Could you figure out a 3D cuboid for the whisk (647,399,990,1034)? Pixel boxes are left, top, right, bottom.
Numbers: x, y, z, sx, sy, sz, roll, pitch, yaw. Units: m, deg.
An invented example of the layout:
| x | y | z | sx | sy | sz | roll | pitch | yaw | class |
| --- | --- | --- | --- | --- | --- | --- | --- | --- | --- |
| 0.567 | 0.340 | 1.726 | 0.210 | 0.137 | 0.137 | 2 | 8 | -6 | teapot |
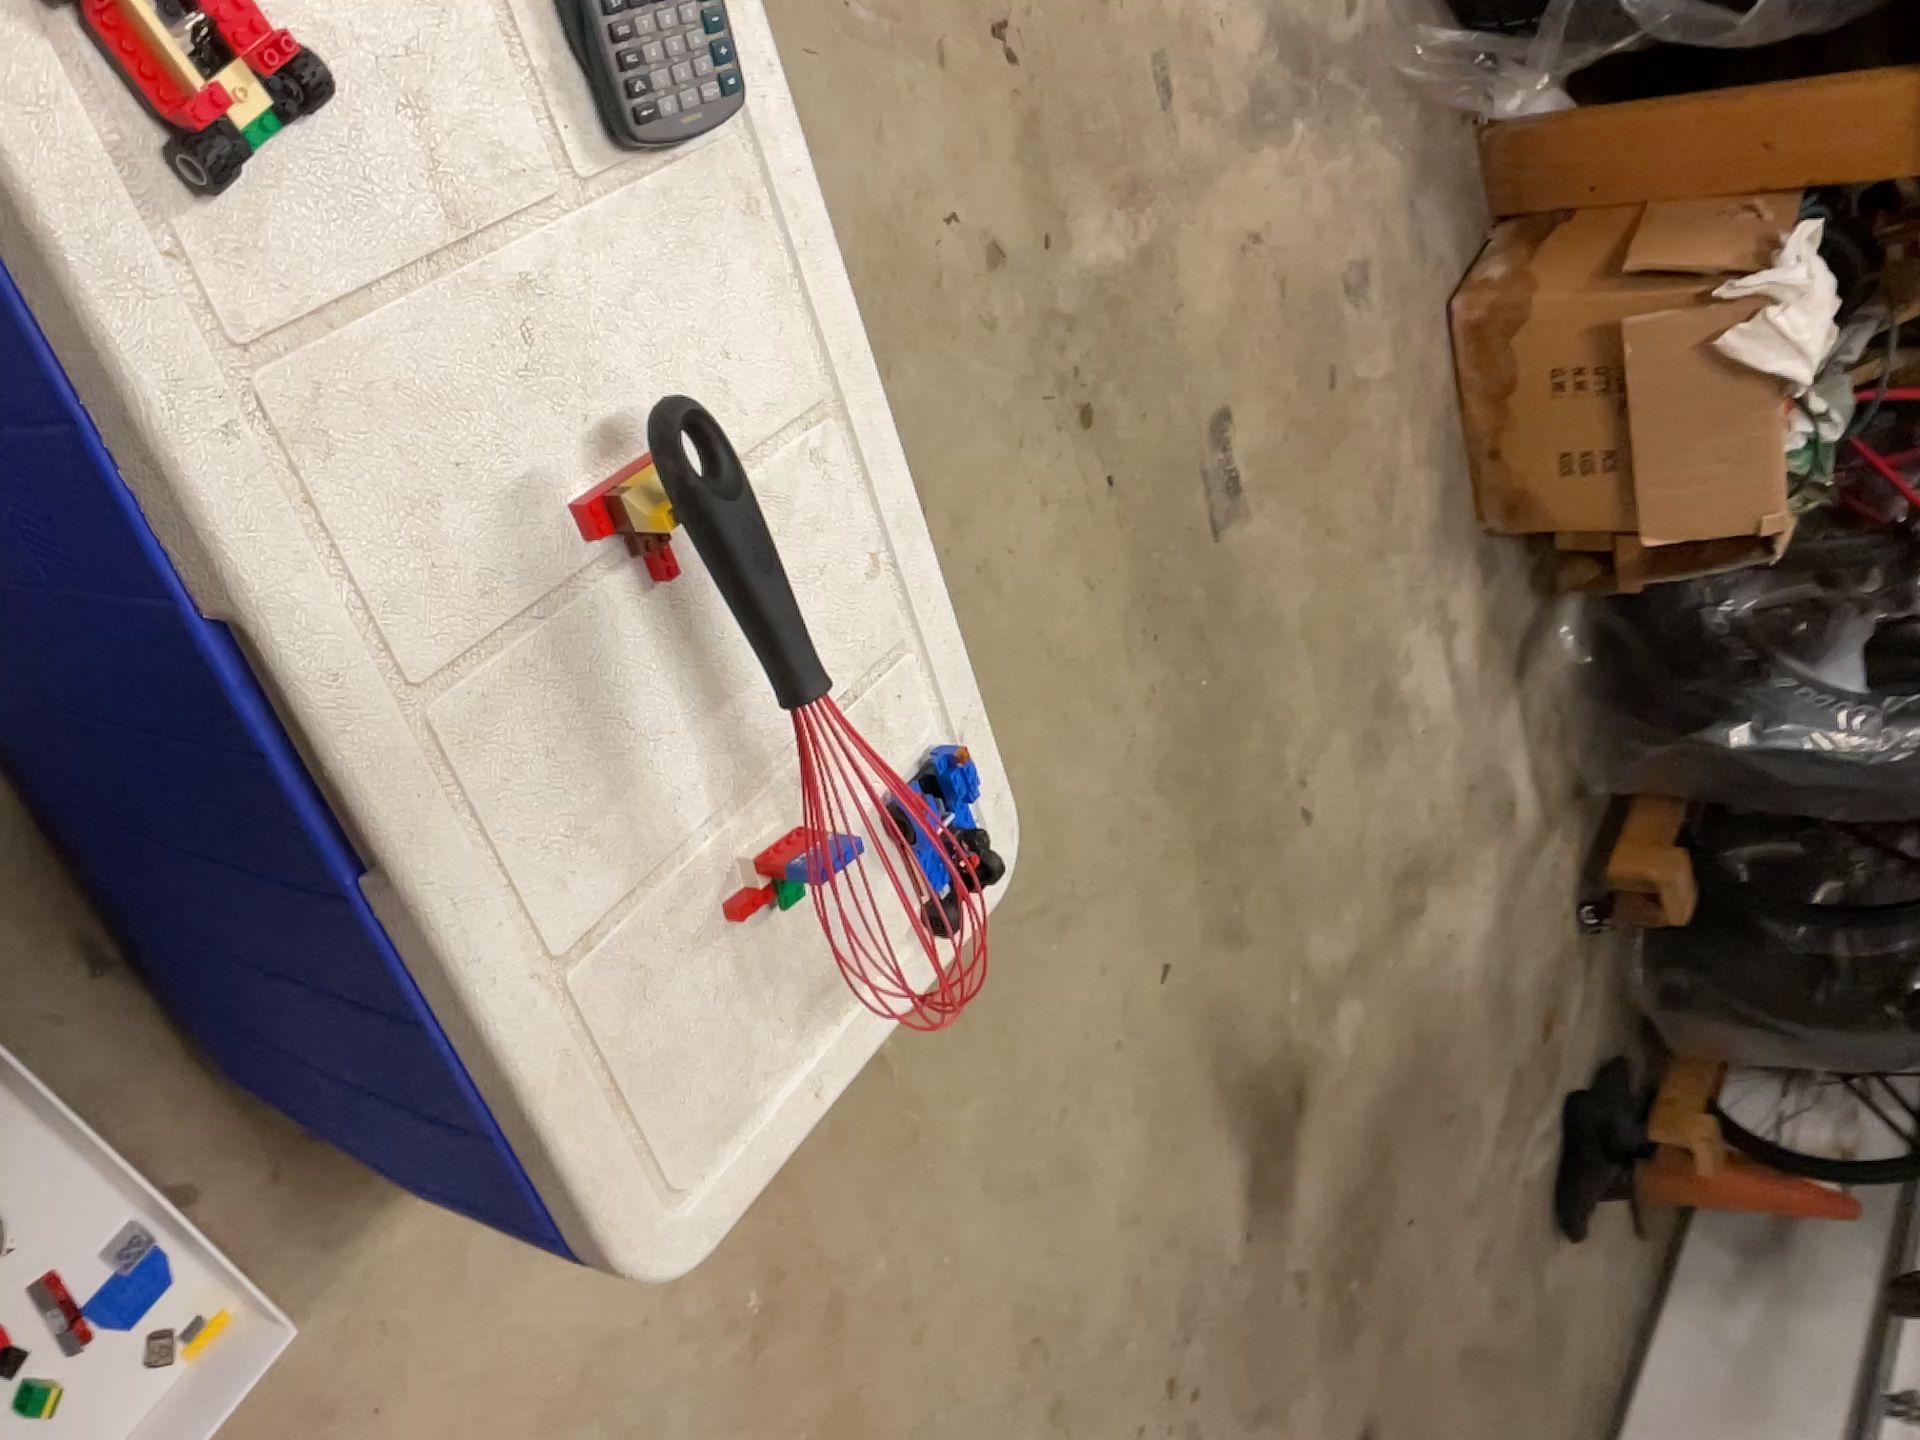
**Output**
| x | y | z | sx | sy | sz | roll | pitch | yaw | class |
| --- | --- | --- | --- | --- | --- | --- | --- | --- | --- |
| -0.056 | 0.007 | 0.653 | 0.073 | 0.073 | 0.295 | -42 | 118 | -39 | whisk |
